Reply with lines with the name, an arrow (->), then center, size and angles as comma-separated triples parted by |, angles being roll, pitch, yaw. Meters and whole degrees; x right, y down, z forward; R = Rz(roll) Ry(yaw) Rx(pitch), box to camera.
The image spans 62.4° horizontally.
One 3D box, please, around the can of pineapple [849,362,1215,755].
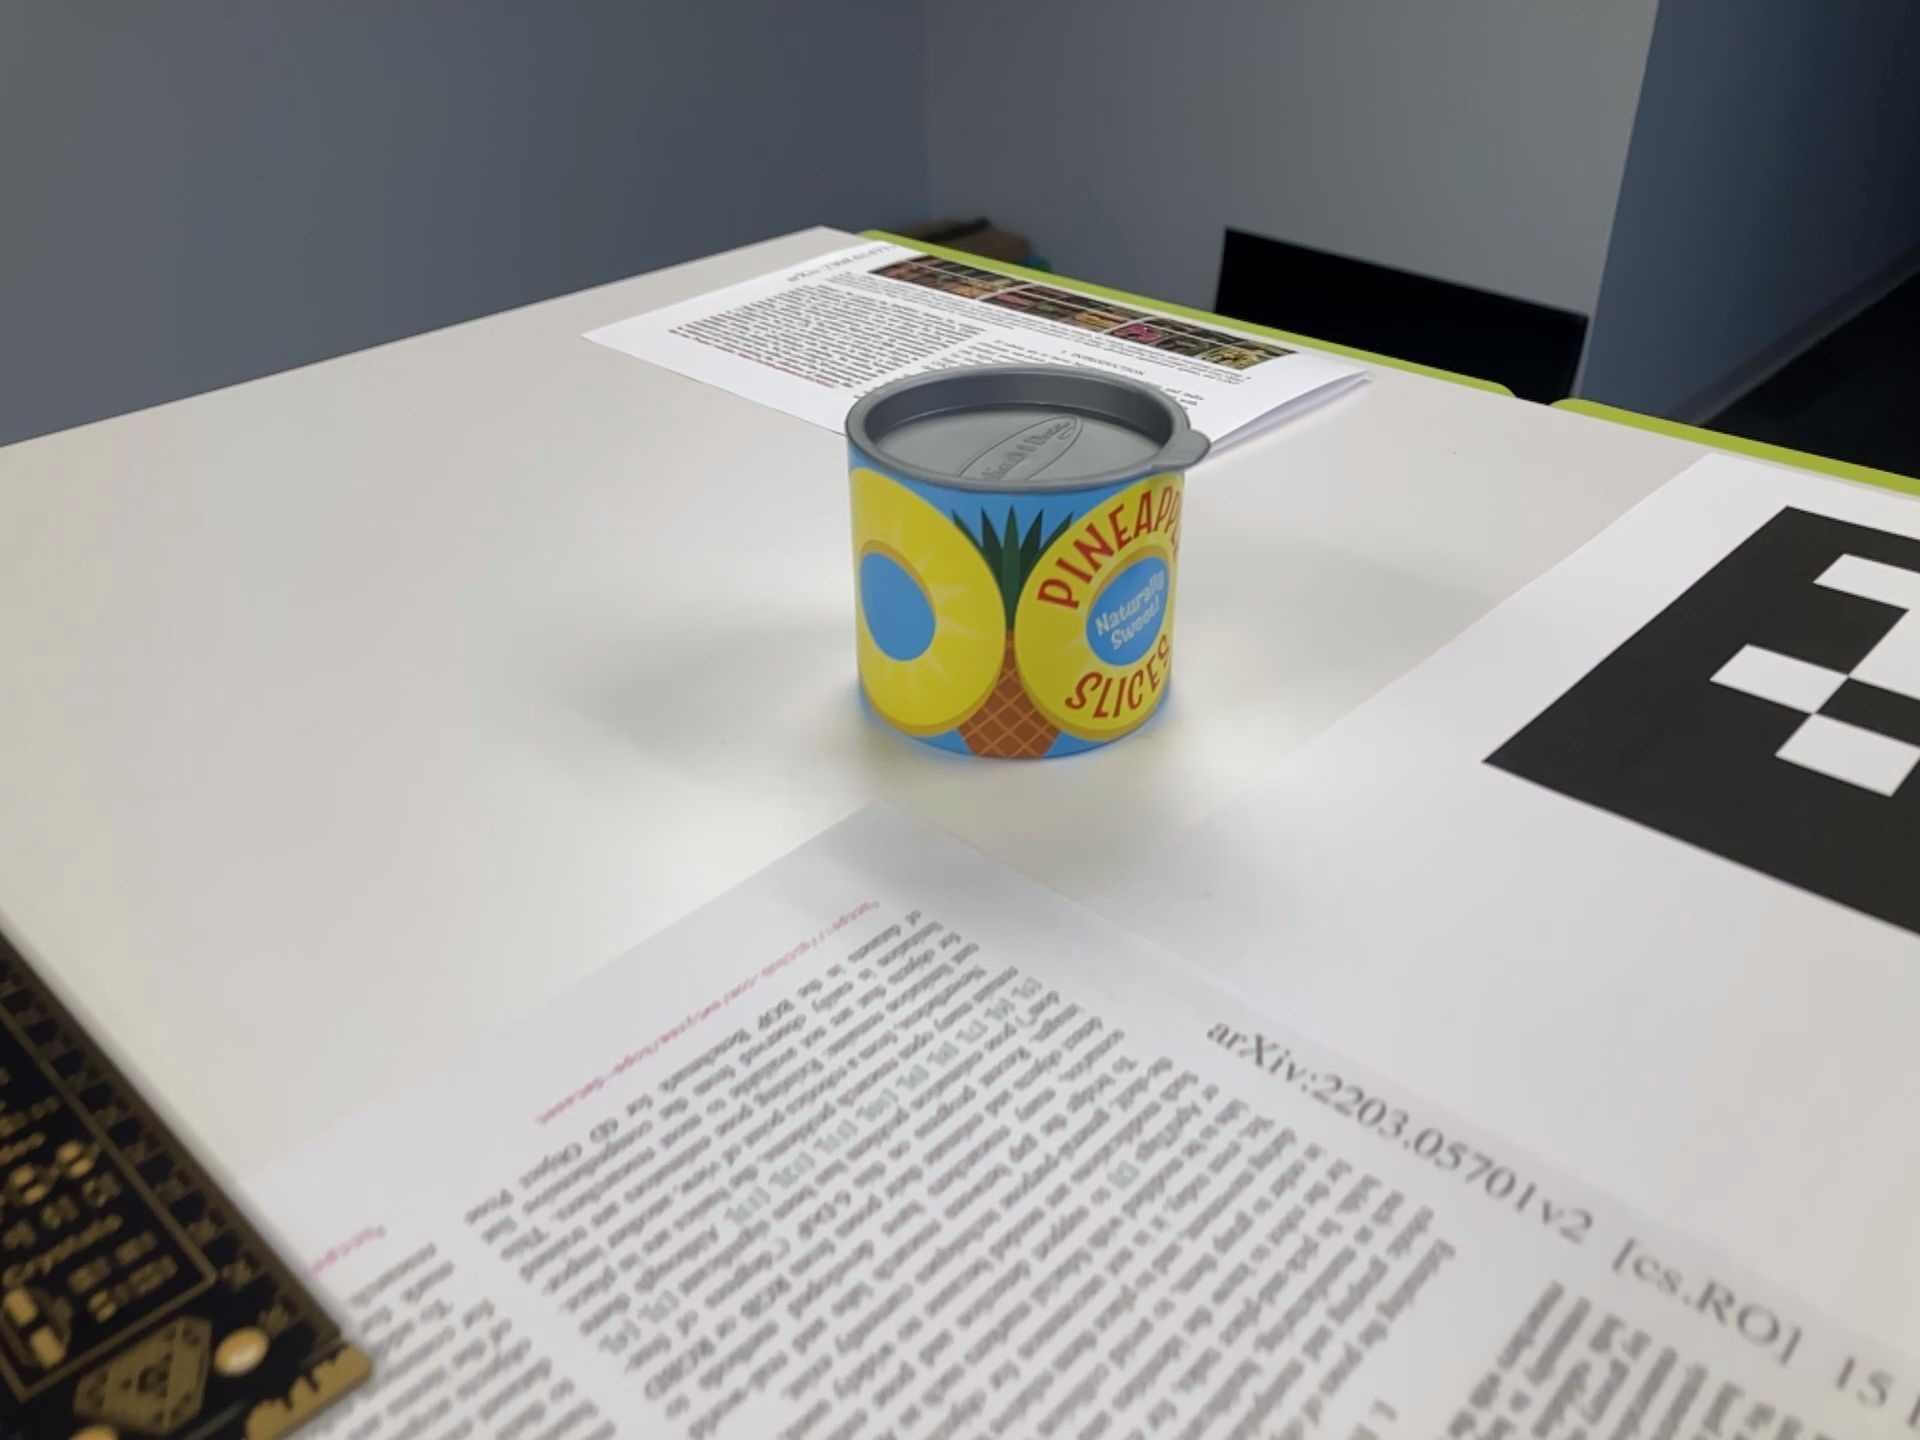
can of pineapple -> 0.013, -0.033, 0.319 | 0.071, 0.058, 0.071 | -1, 32, 0
